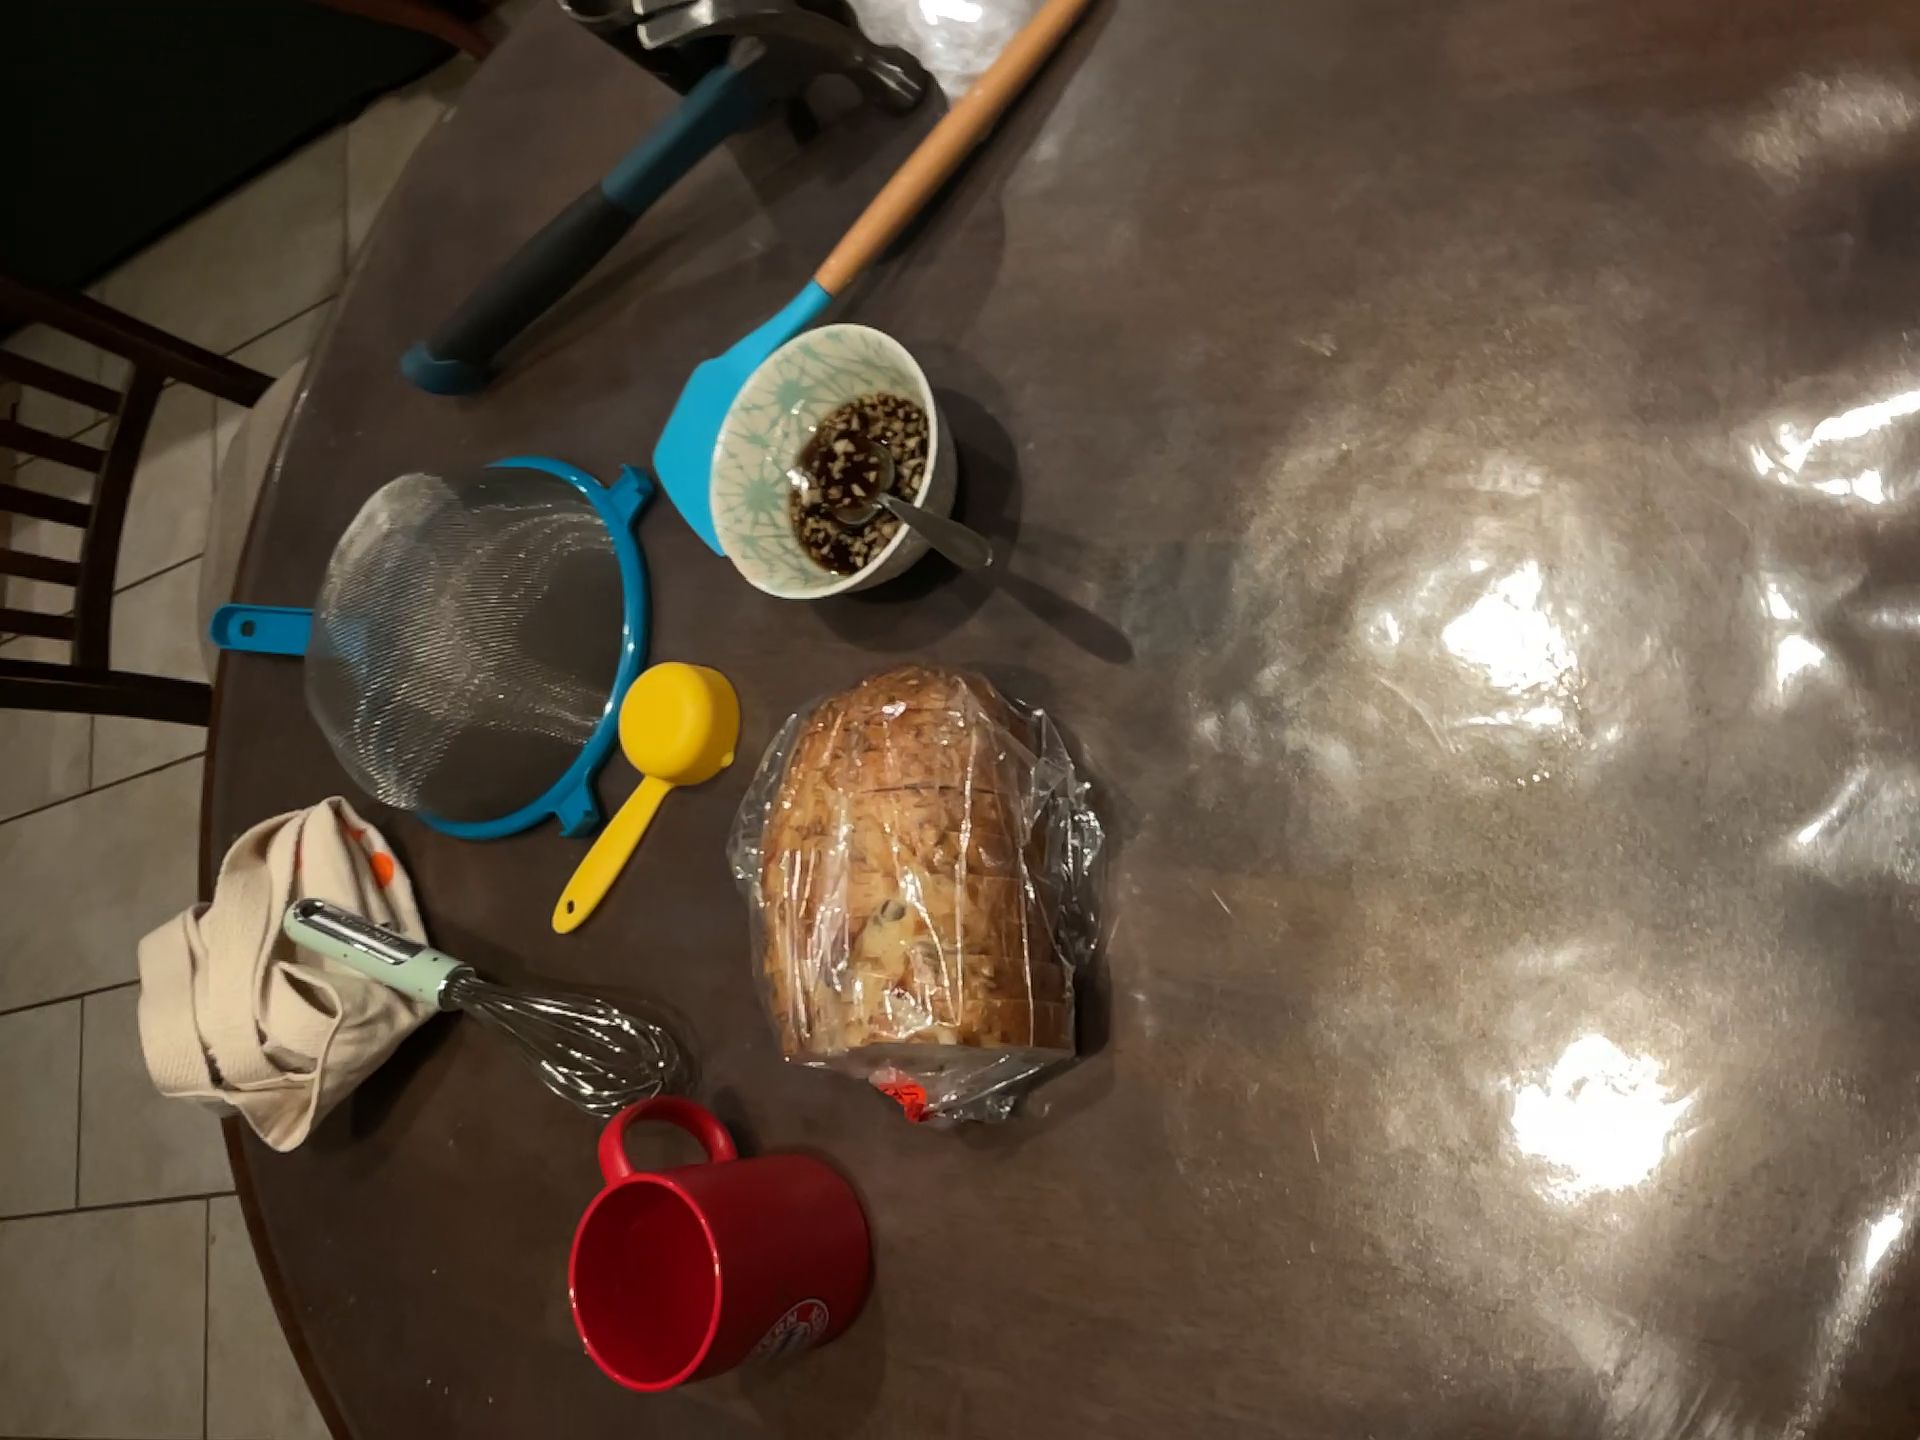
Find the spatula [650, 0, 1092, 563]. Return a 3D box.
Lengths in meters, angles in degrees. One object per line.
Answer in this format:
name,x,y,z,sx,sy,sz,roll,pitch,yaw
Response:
spatula,-0.046,-0.218,0.770,0.317,0.044,0.082,-46,59,12

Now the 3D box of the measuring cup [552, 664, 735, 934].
measuring cup,-0.166,0.041,0.787,0.062,0.029,0.156,39,100,32

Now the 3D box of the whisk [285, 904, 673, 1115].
whisk,-0.243,0.135,0.789,0.246,0.058,0.059,16,120,25

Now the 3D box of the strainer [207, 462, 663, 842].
strainer,-0.324,-0.050,0.869,0.340,0.095,0.211,5,82,29

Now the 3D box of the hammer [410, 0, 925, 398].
hammer,-0.177,-0.260,0.823,0.331,0.128,0.033,-29,63,35
